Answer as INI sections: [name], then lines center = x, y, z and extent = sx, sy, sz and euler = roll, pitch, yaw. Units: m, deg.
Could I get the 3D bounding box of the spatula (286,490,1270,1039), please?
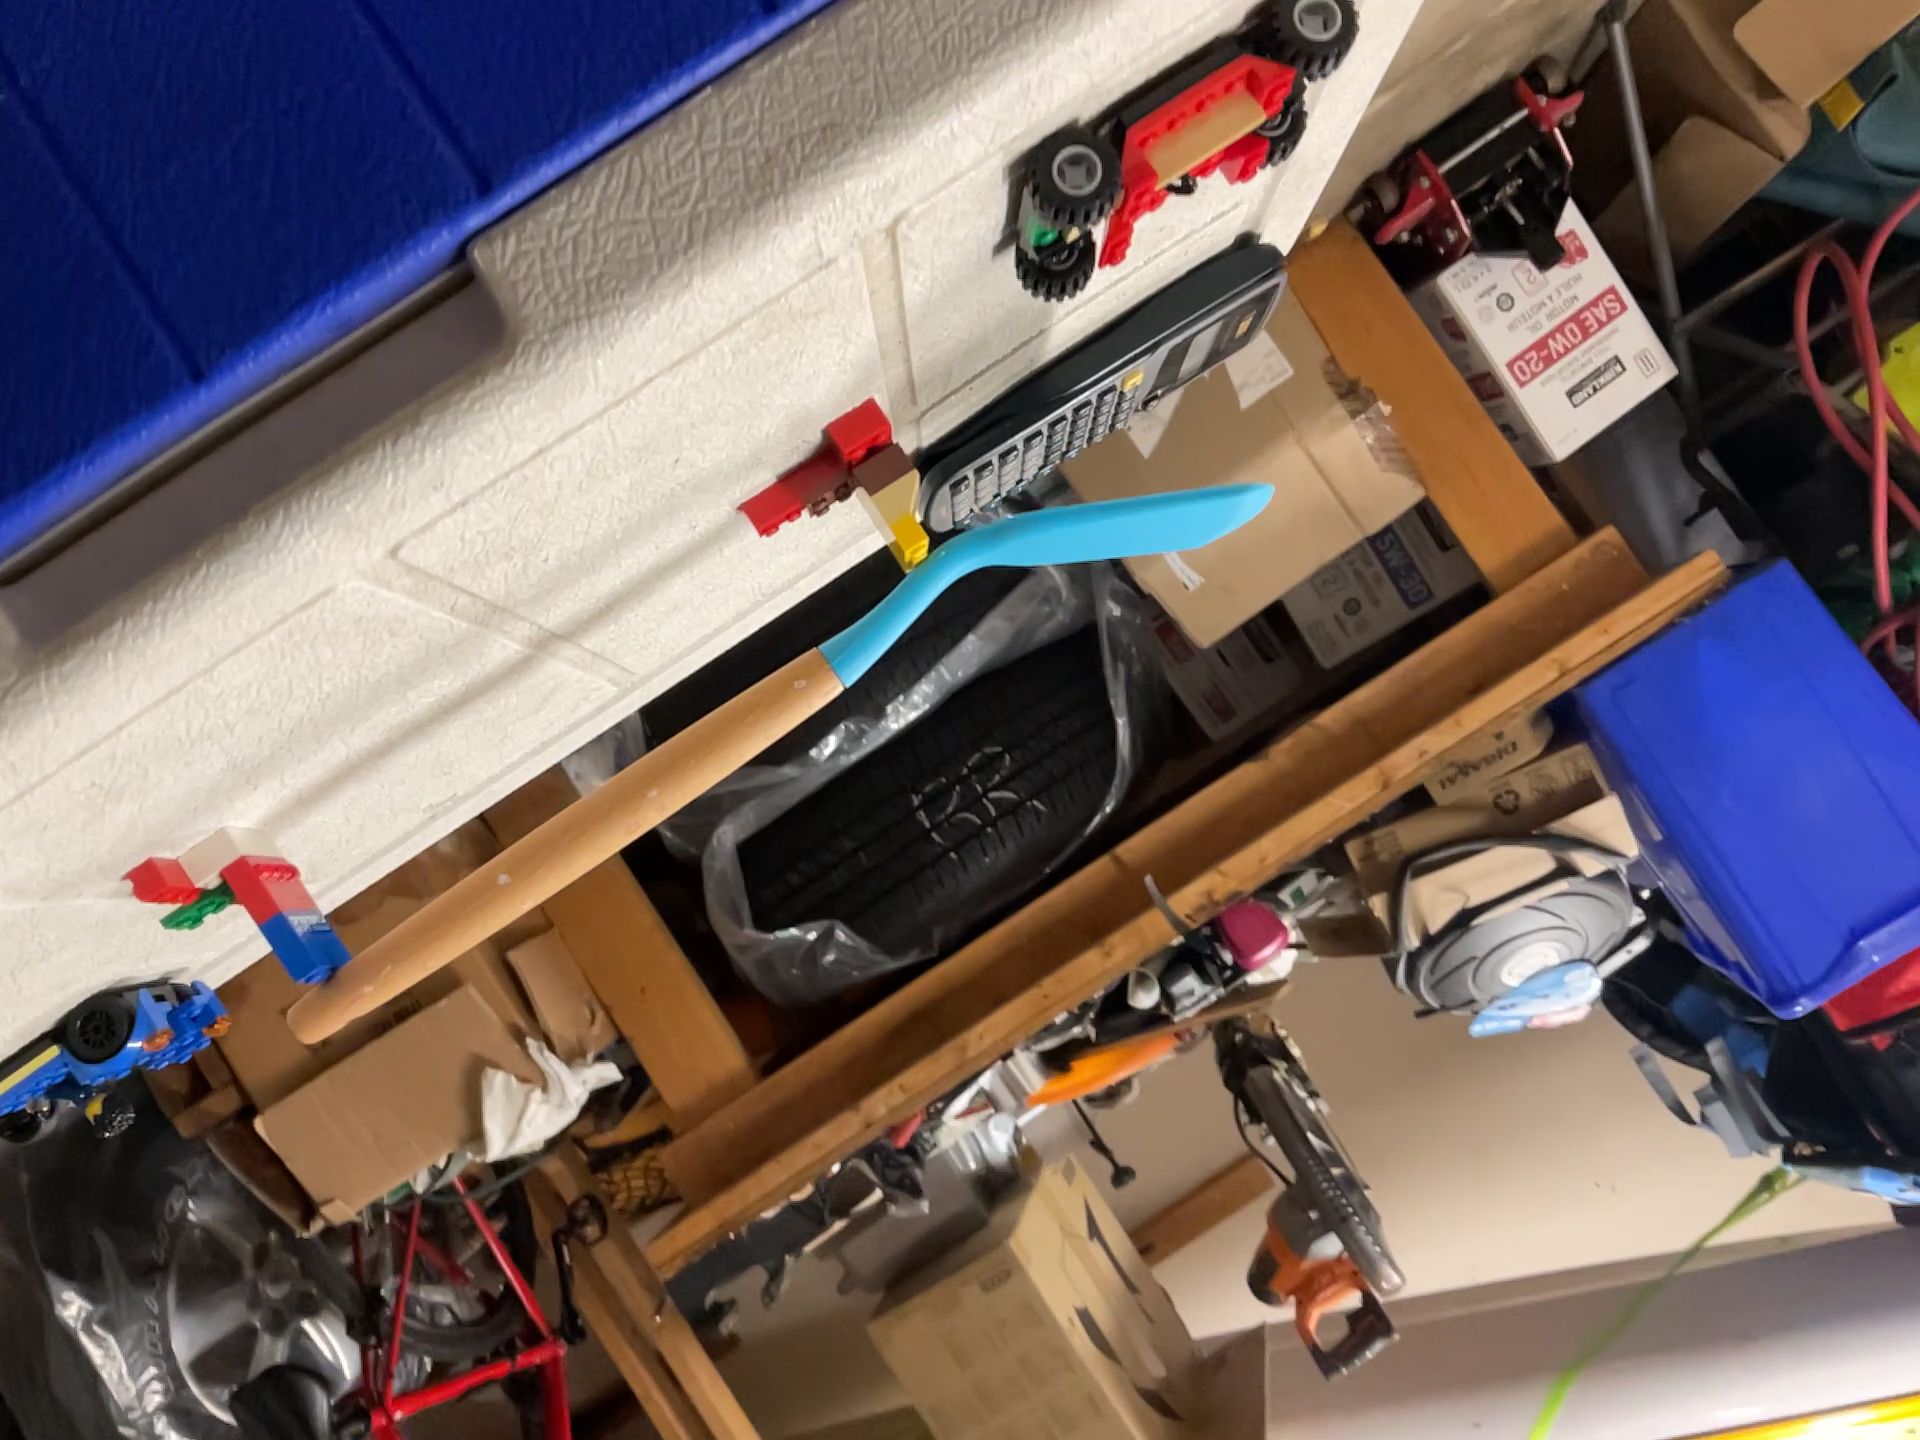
[spatula]
center = -0.055, 0.008, 0.472
extent = 0.317, 0.044, 0.082
euler = -34, 179, -4
